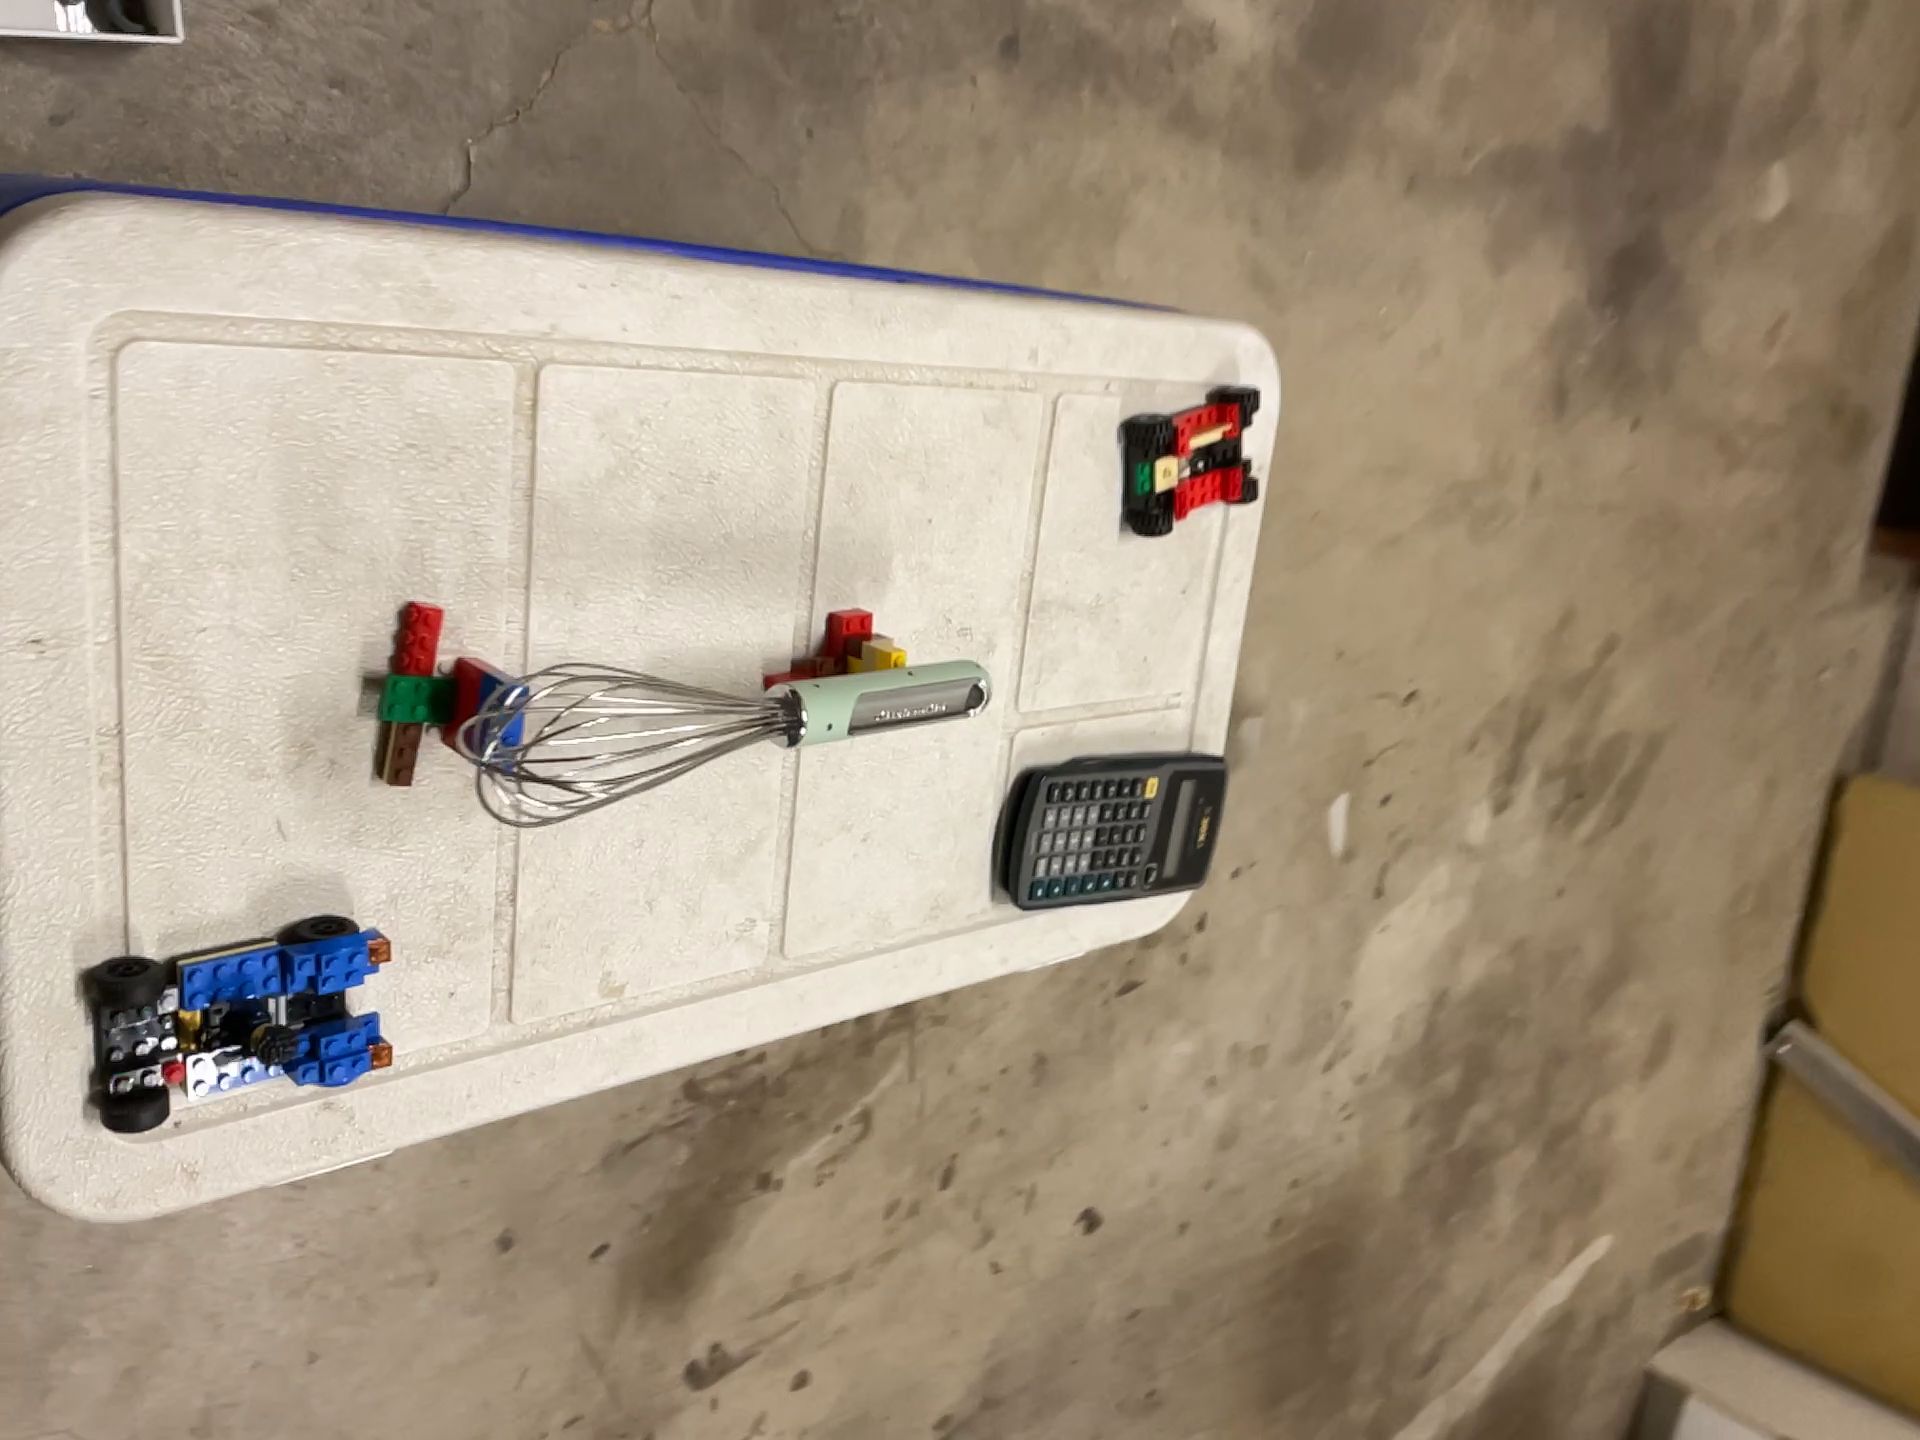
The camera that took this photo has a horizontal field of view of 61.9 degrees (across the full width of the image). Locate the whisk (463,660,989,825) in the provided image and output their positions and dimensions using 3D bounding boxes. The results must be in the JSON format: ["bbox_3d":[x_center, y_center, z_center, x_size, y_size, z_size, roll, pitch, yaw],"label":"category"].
[{"bbox_3d":[-0.072,0.000,0.594,0.246,0.059,0.057,-9,119,-49],"label":"whisk"}]
